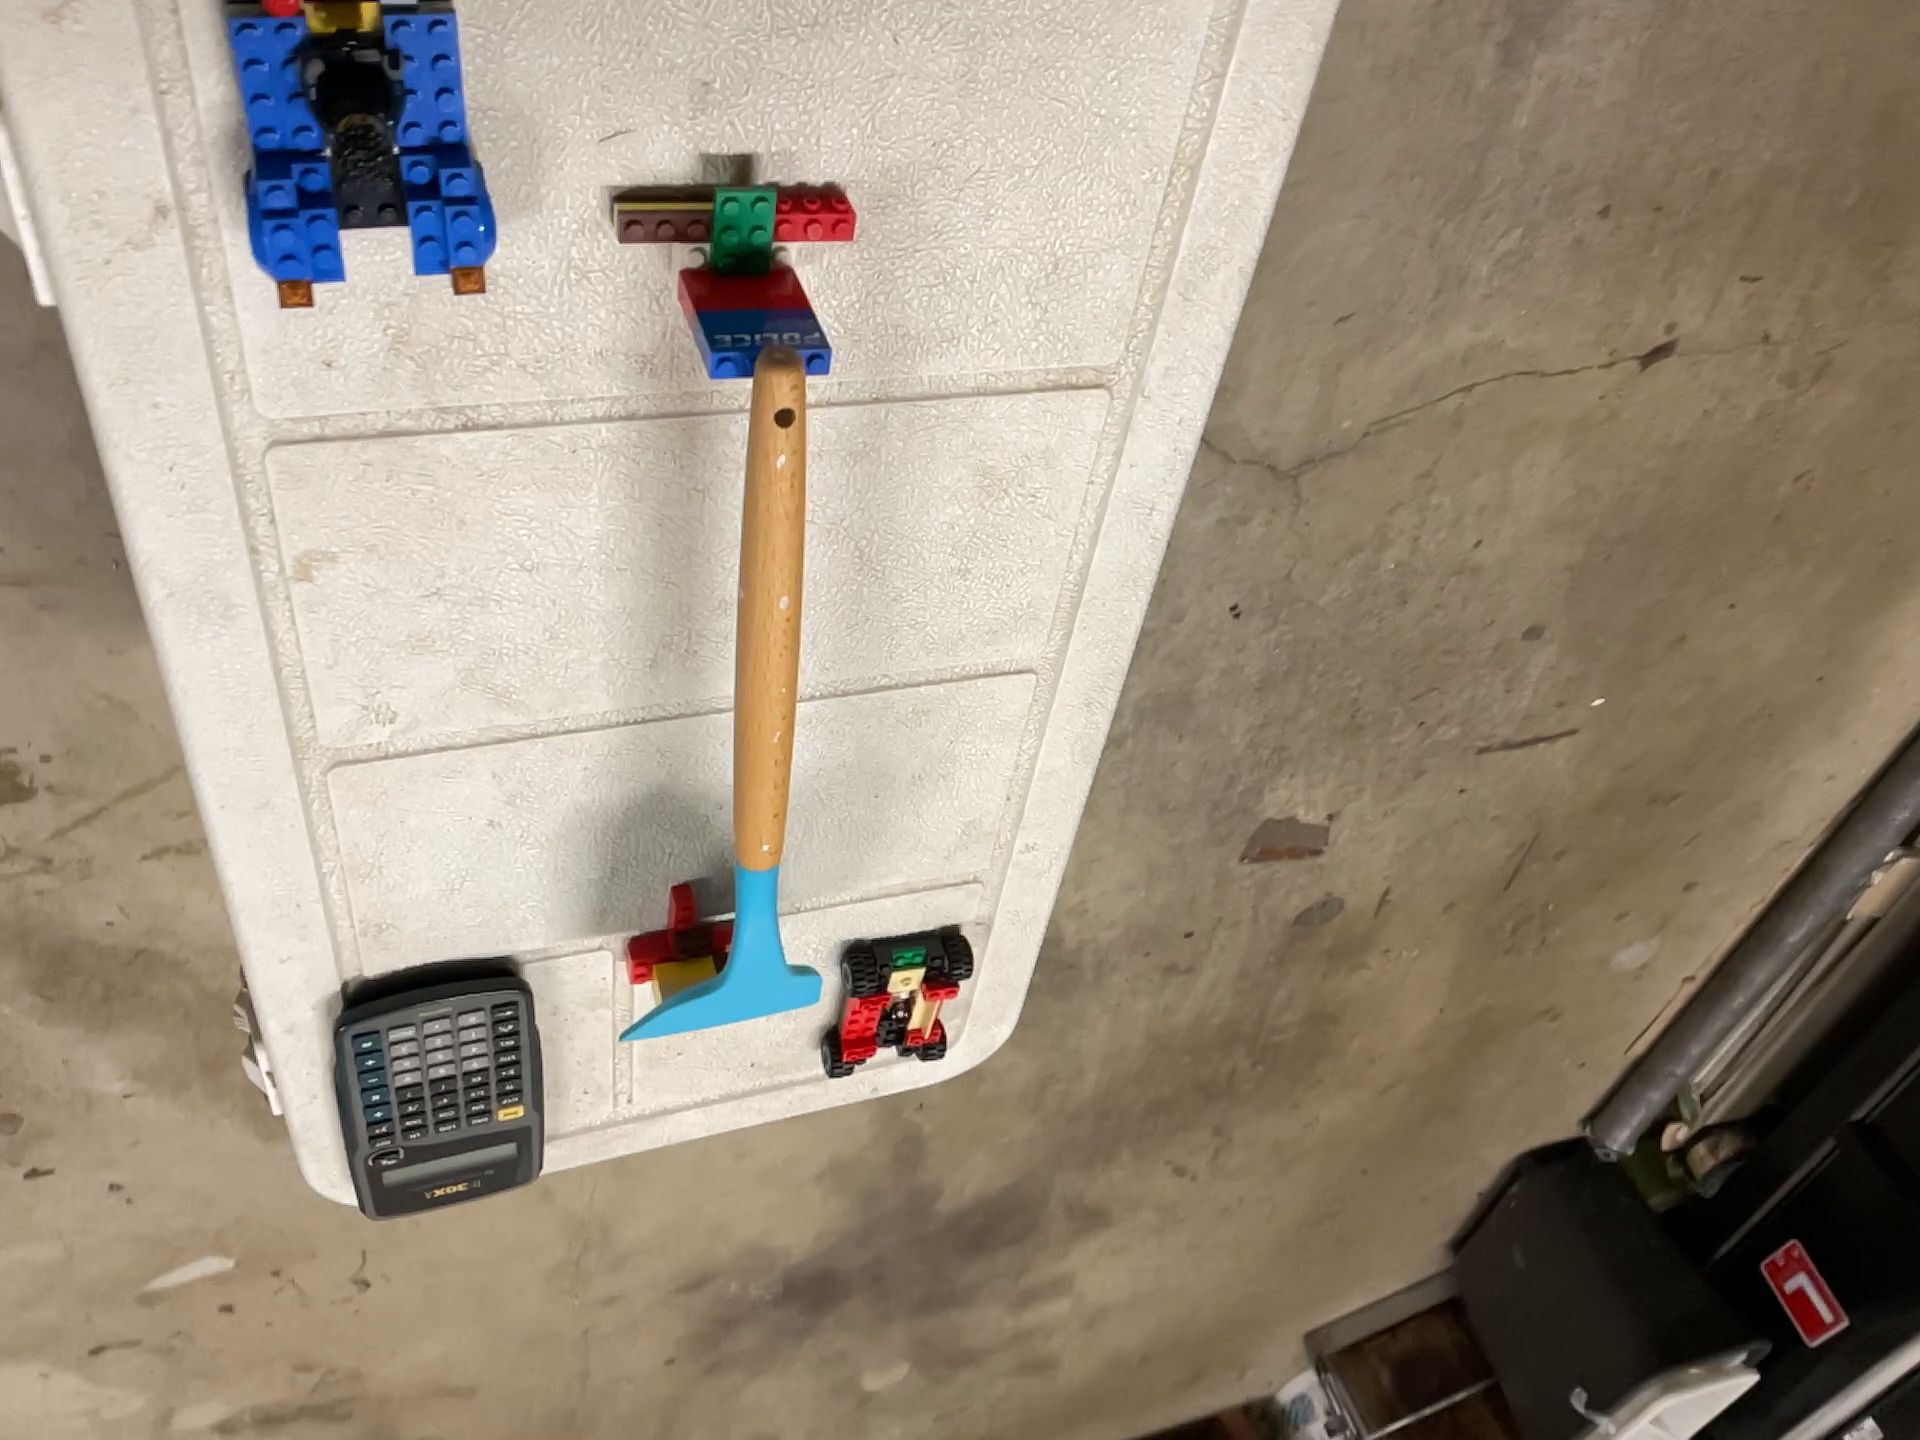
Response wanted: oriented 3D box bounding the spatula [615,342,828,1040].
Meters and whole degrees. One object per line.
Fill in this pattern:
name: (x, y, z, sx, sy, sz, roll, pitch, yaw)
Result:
spatula: (-0.068, 0.018, 0.512, 0.082, 0.044, 0.317, -8, 135, -19)
